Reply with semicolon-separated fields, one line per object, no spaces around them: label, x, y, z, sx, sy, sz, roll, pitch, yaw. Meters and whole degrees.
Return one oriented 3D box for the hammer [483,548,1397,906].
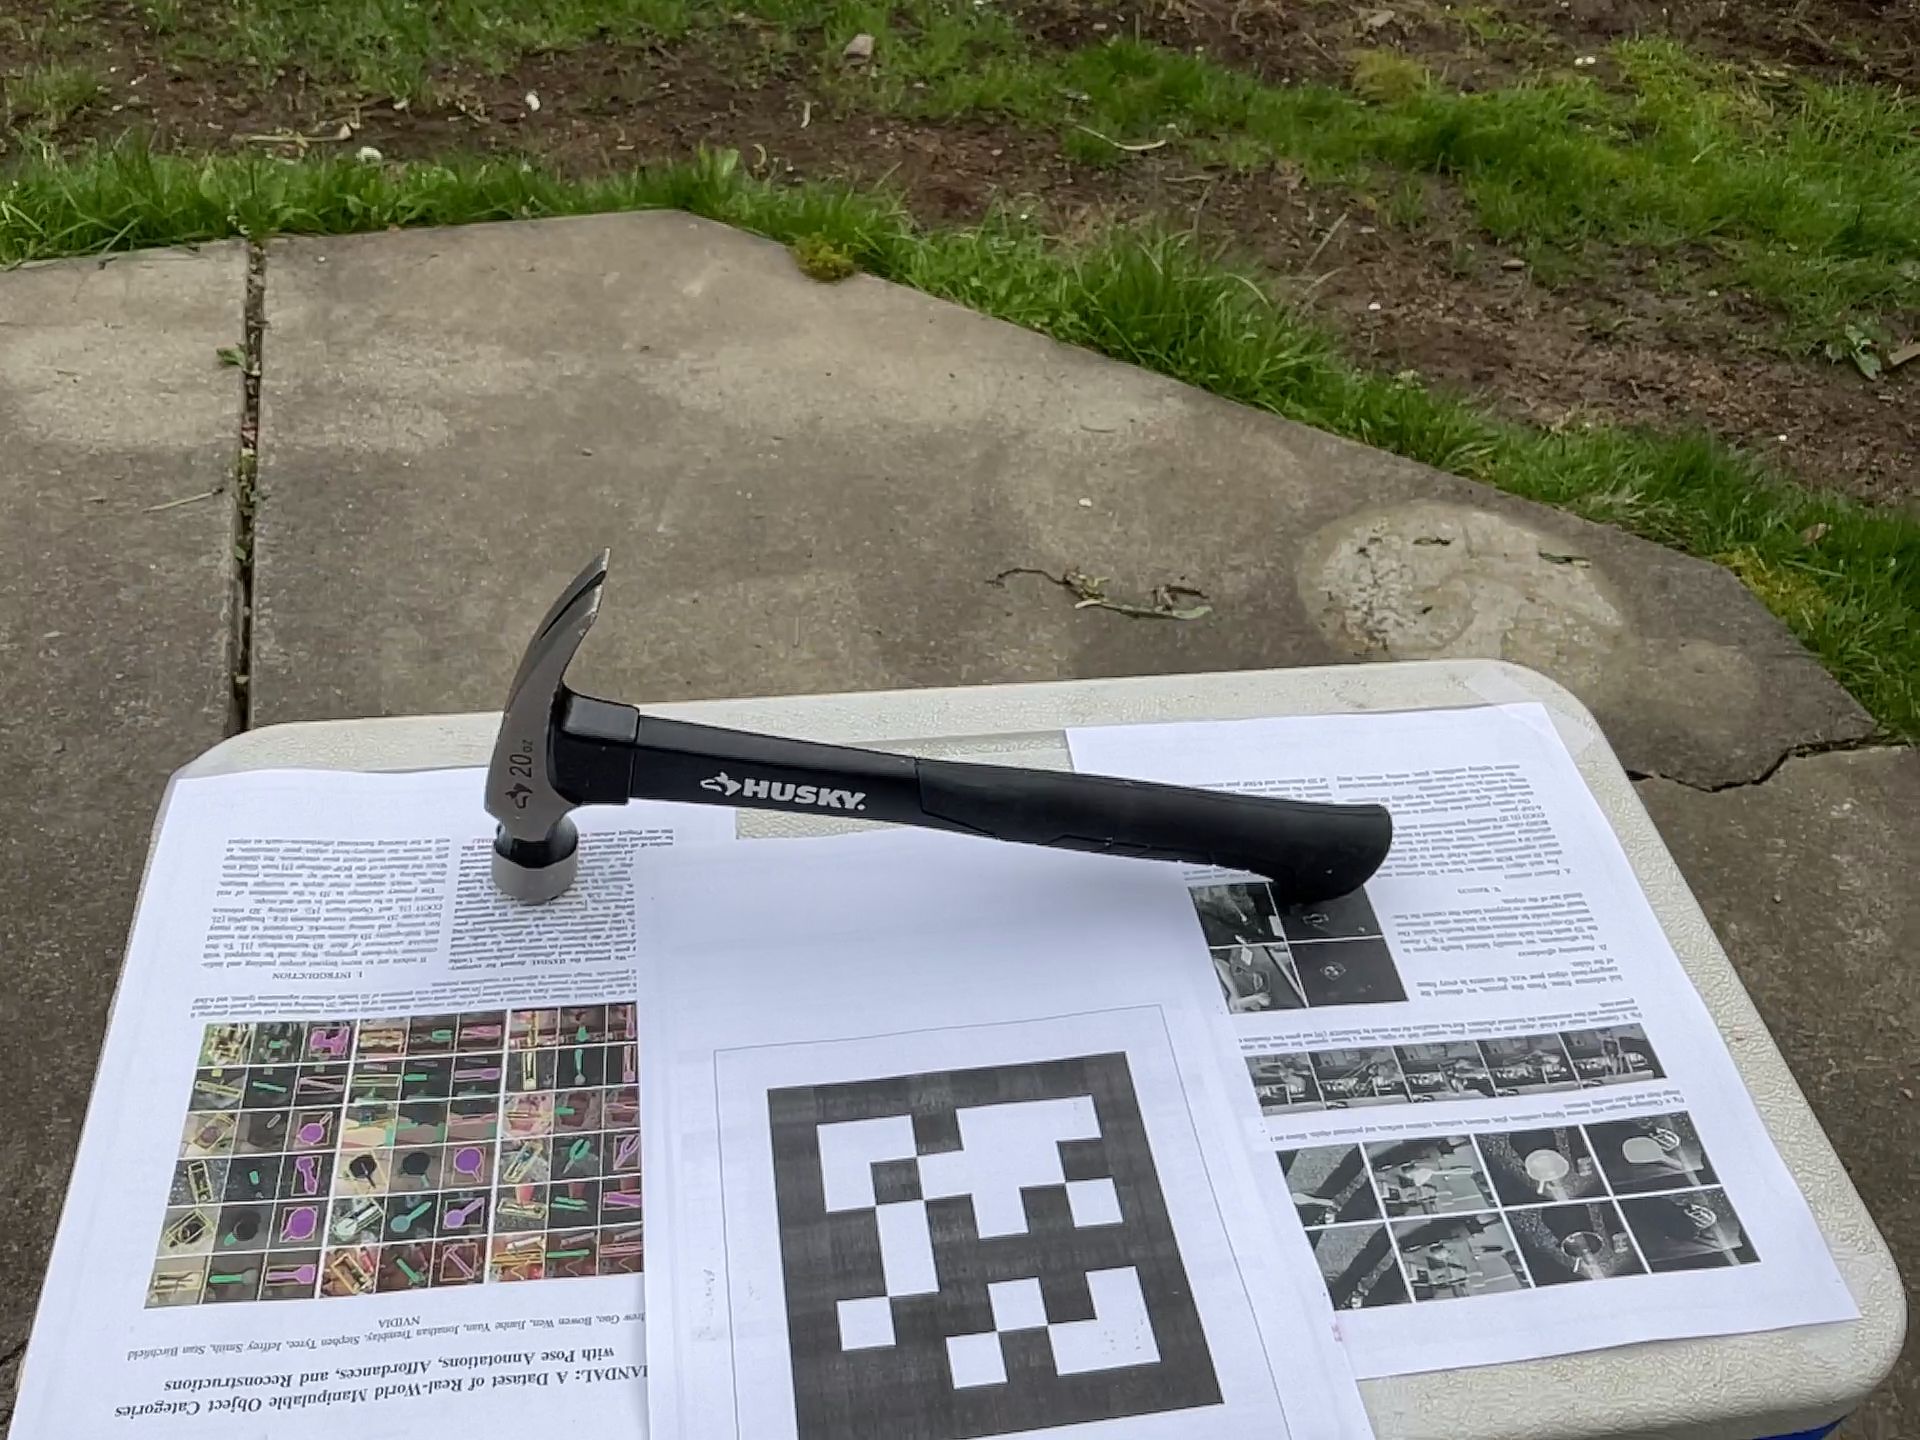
hammer;-0.001;0.025;0.586;0.334;0.146;0.035;8;41;-10
